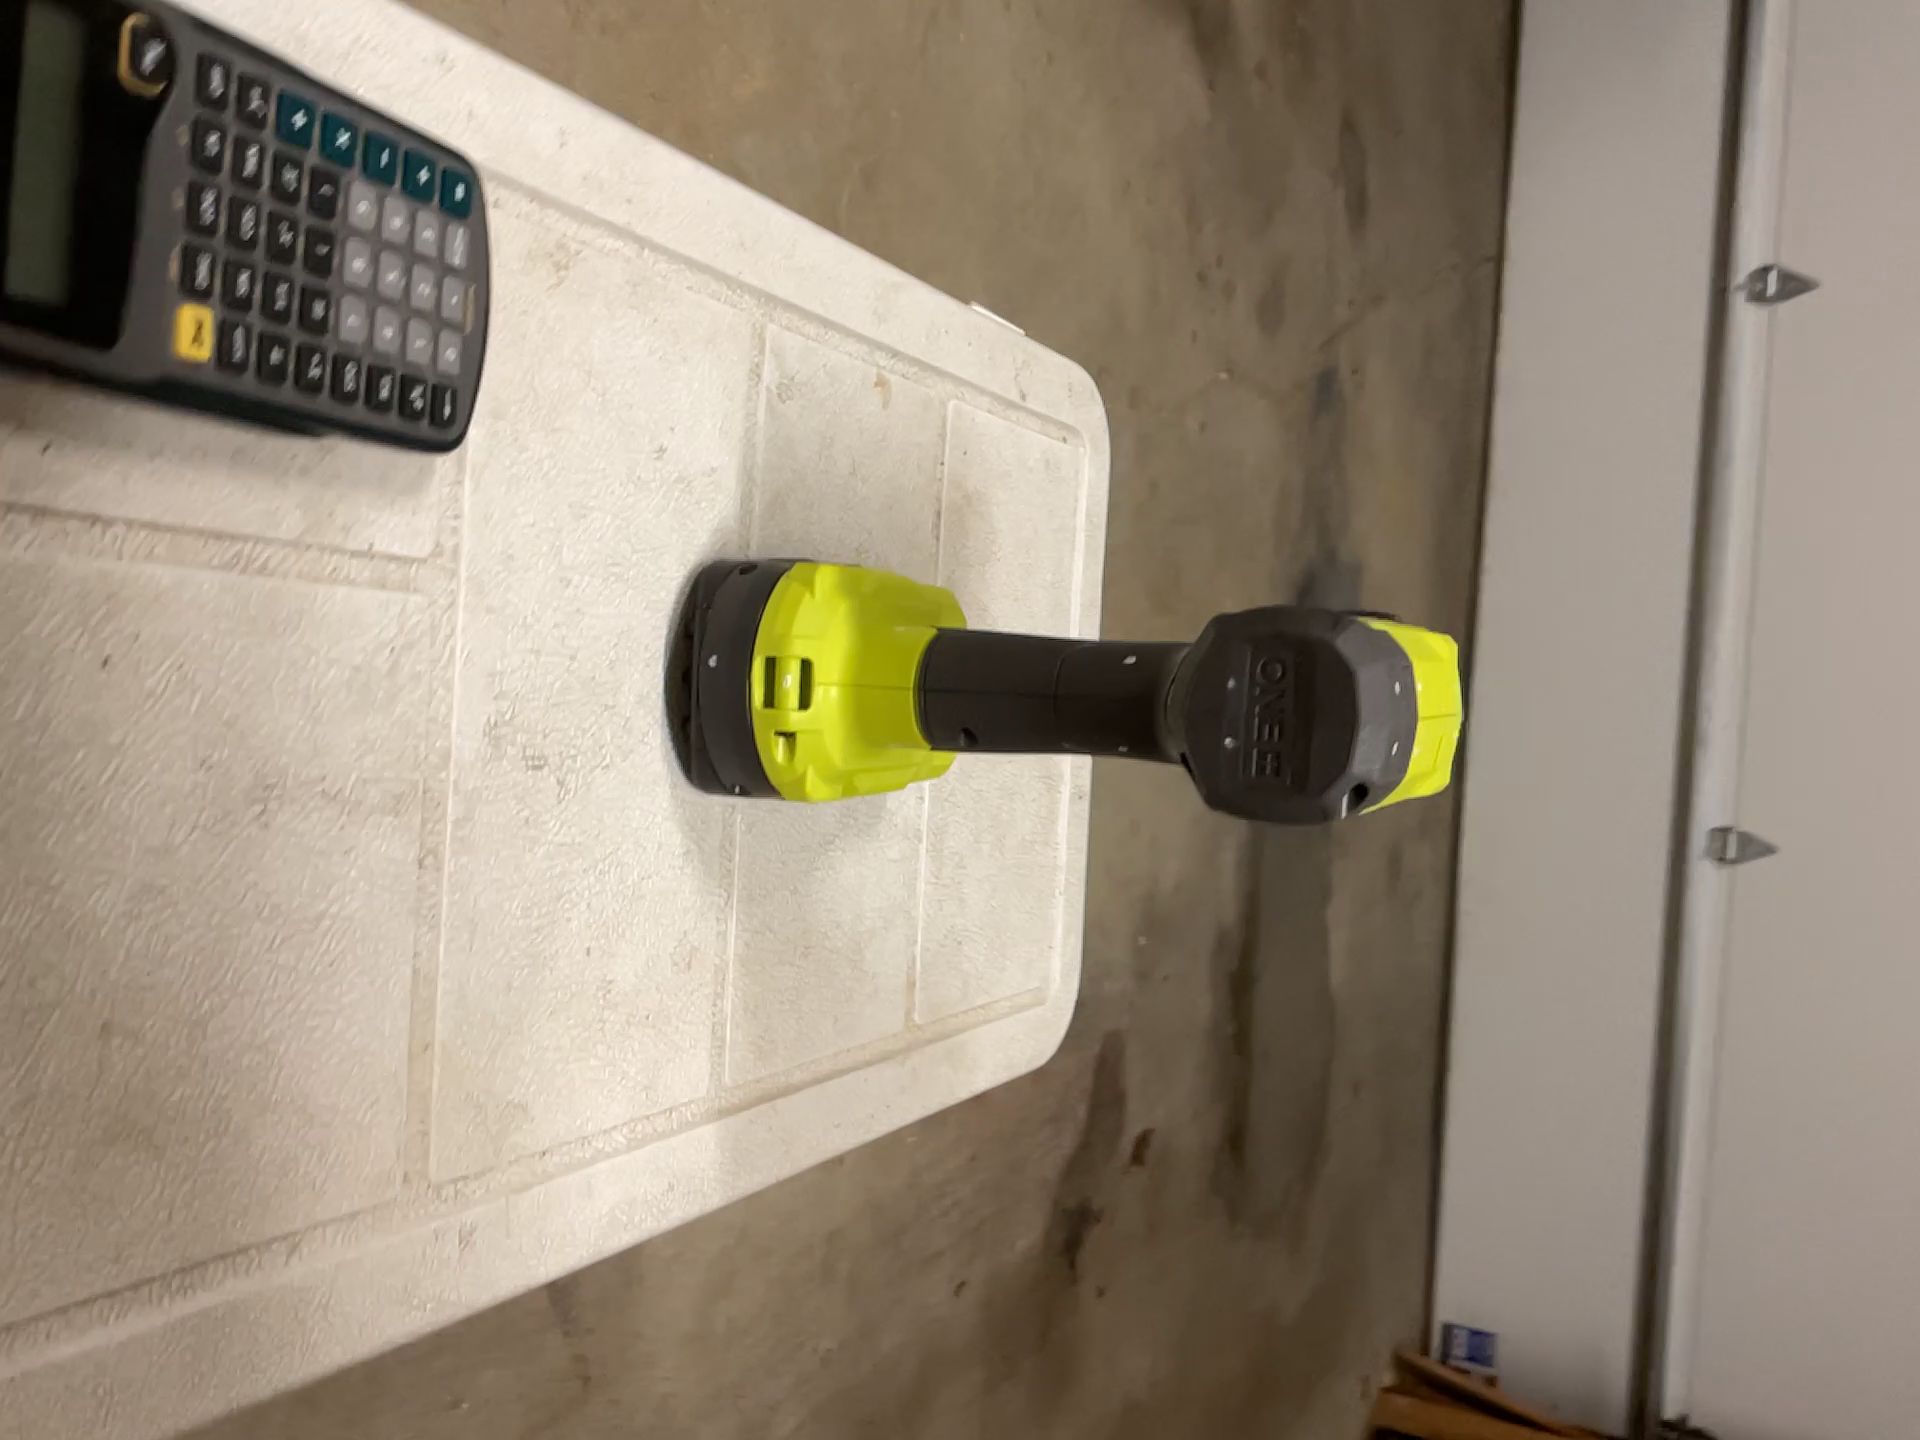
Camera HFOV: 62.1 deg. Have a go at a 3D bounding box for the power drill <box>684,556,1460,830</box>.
[{"bbox_3d":[0.041,-0.008,0.513,0.171,0.223,0.080,-3,97,-64],"label":"power drill"}]
